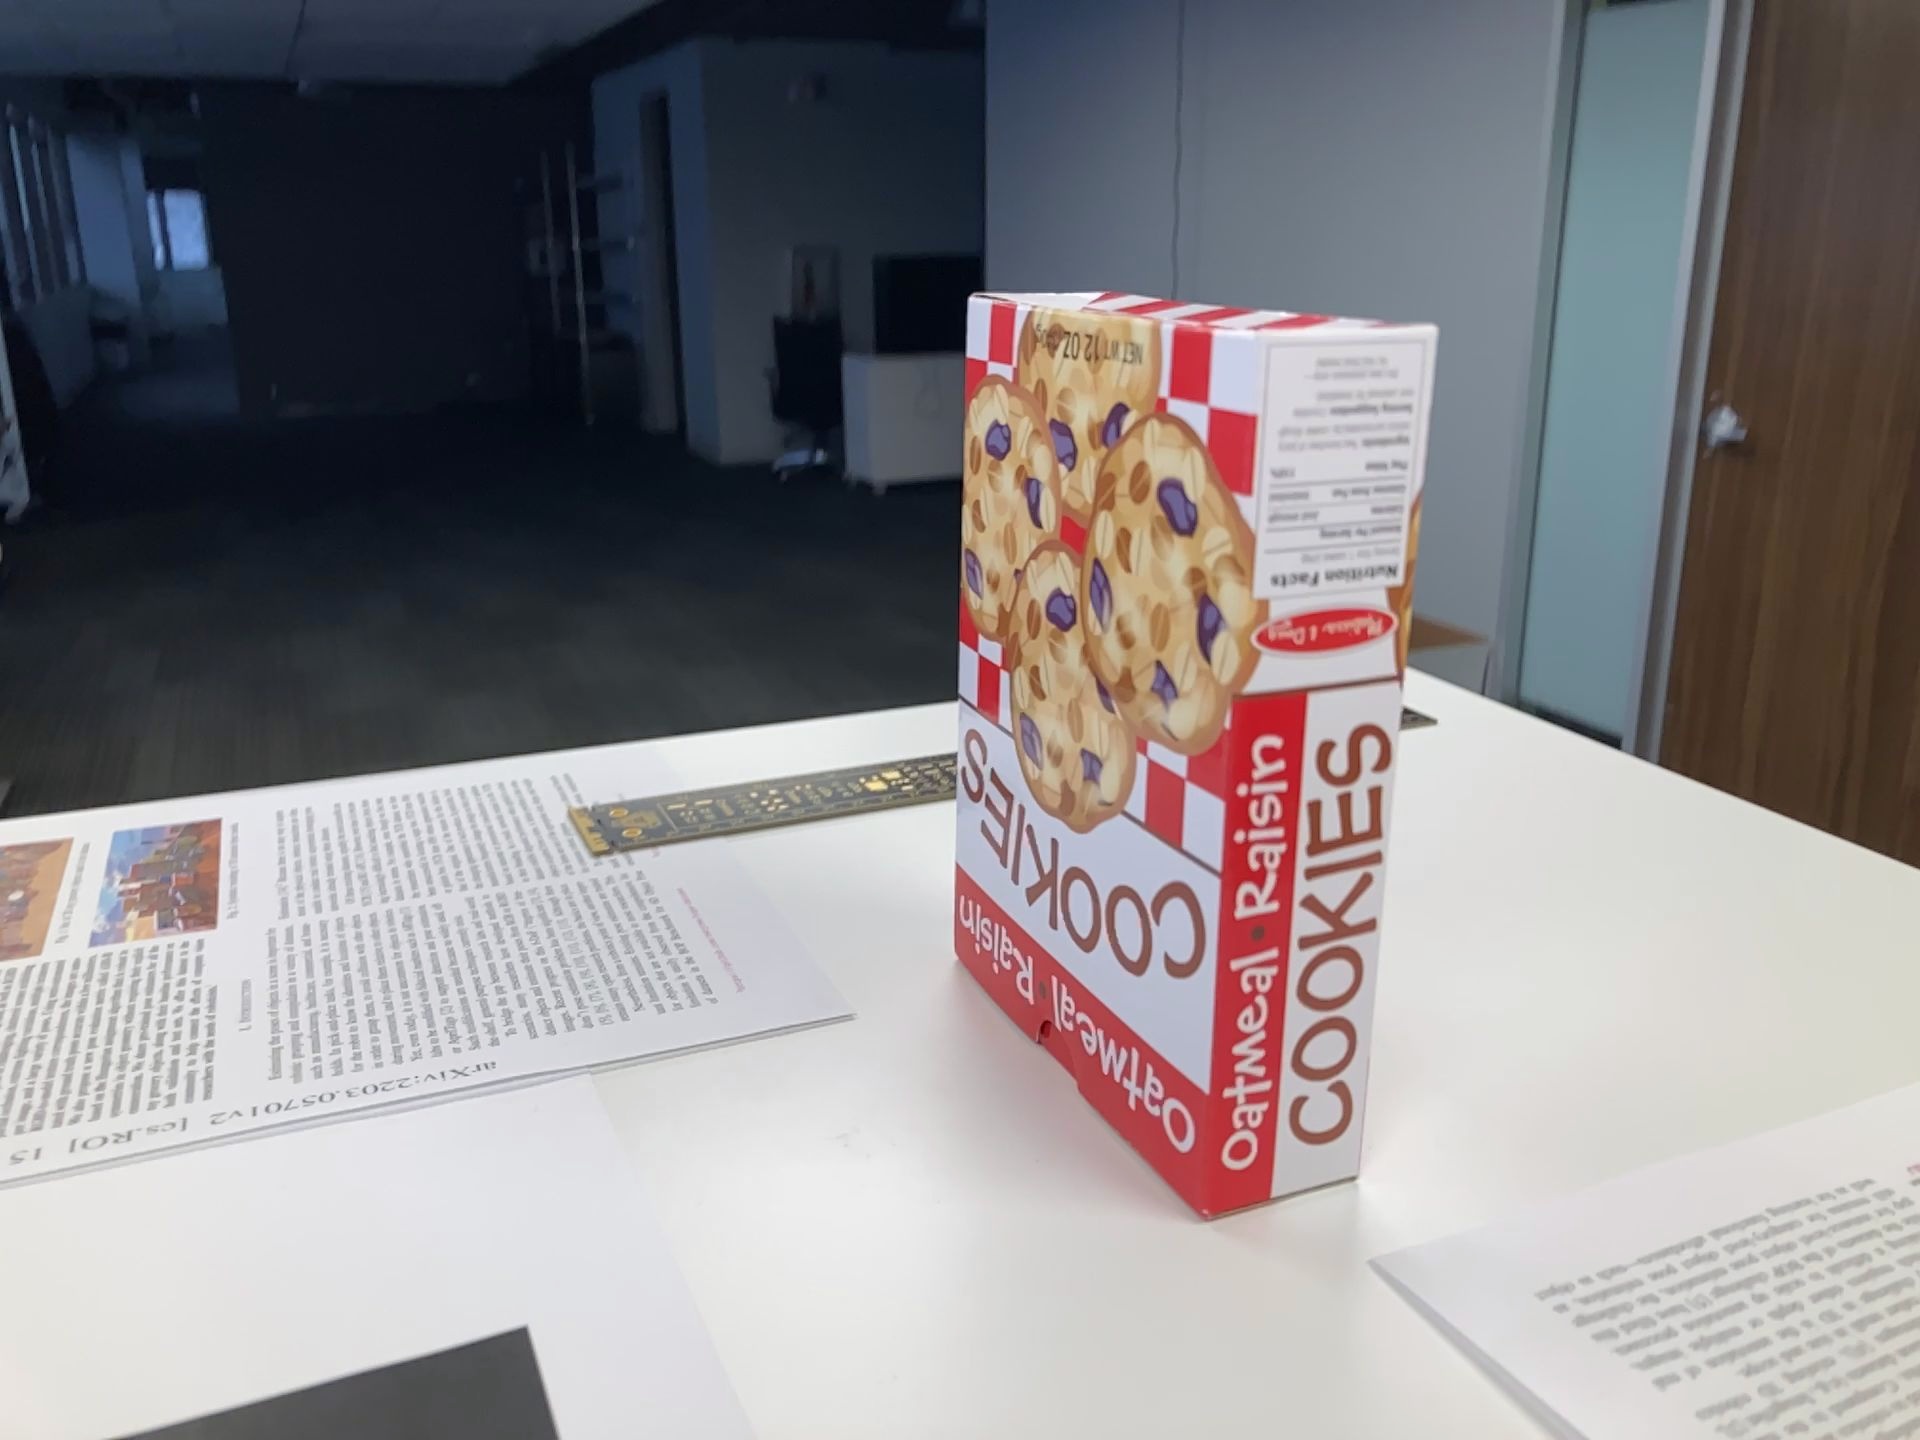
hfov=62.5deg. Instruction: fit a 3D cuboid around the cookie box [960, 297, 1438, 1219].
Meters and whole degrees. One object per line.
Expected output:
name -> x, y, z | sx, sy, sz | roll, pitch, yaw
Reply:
cookie box -> 0.040, -0.002, 0.341 | 0.040, 0.167, 0.123 | -6, 19, -22
